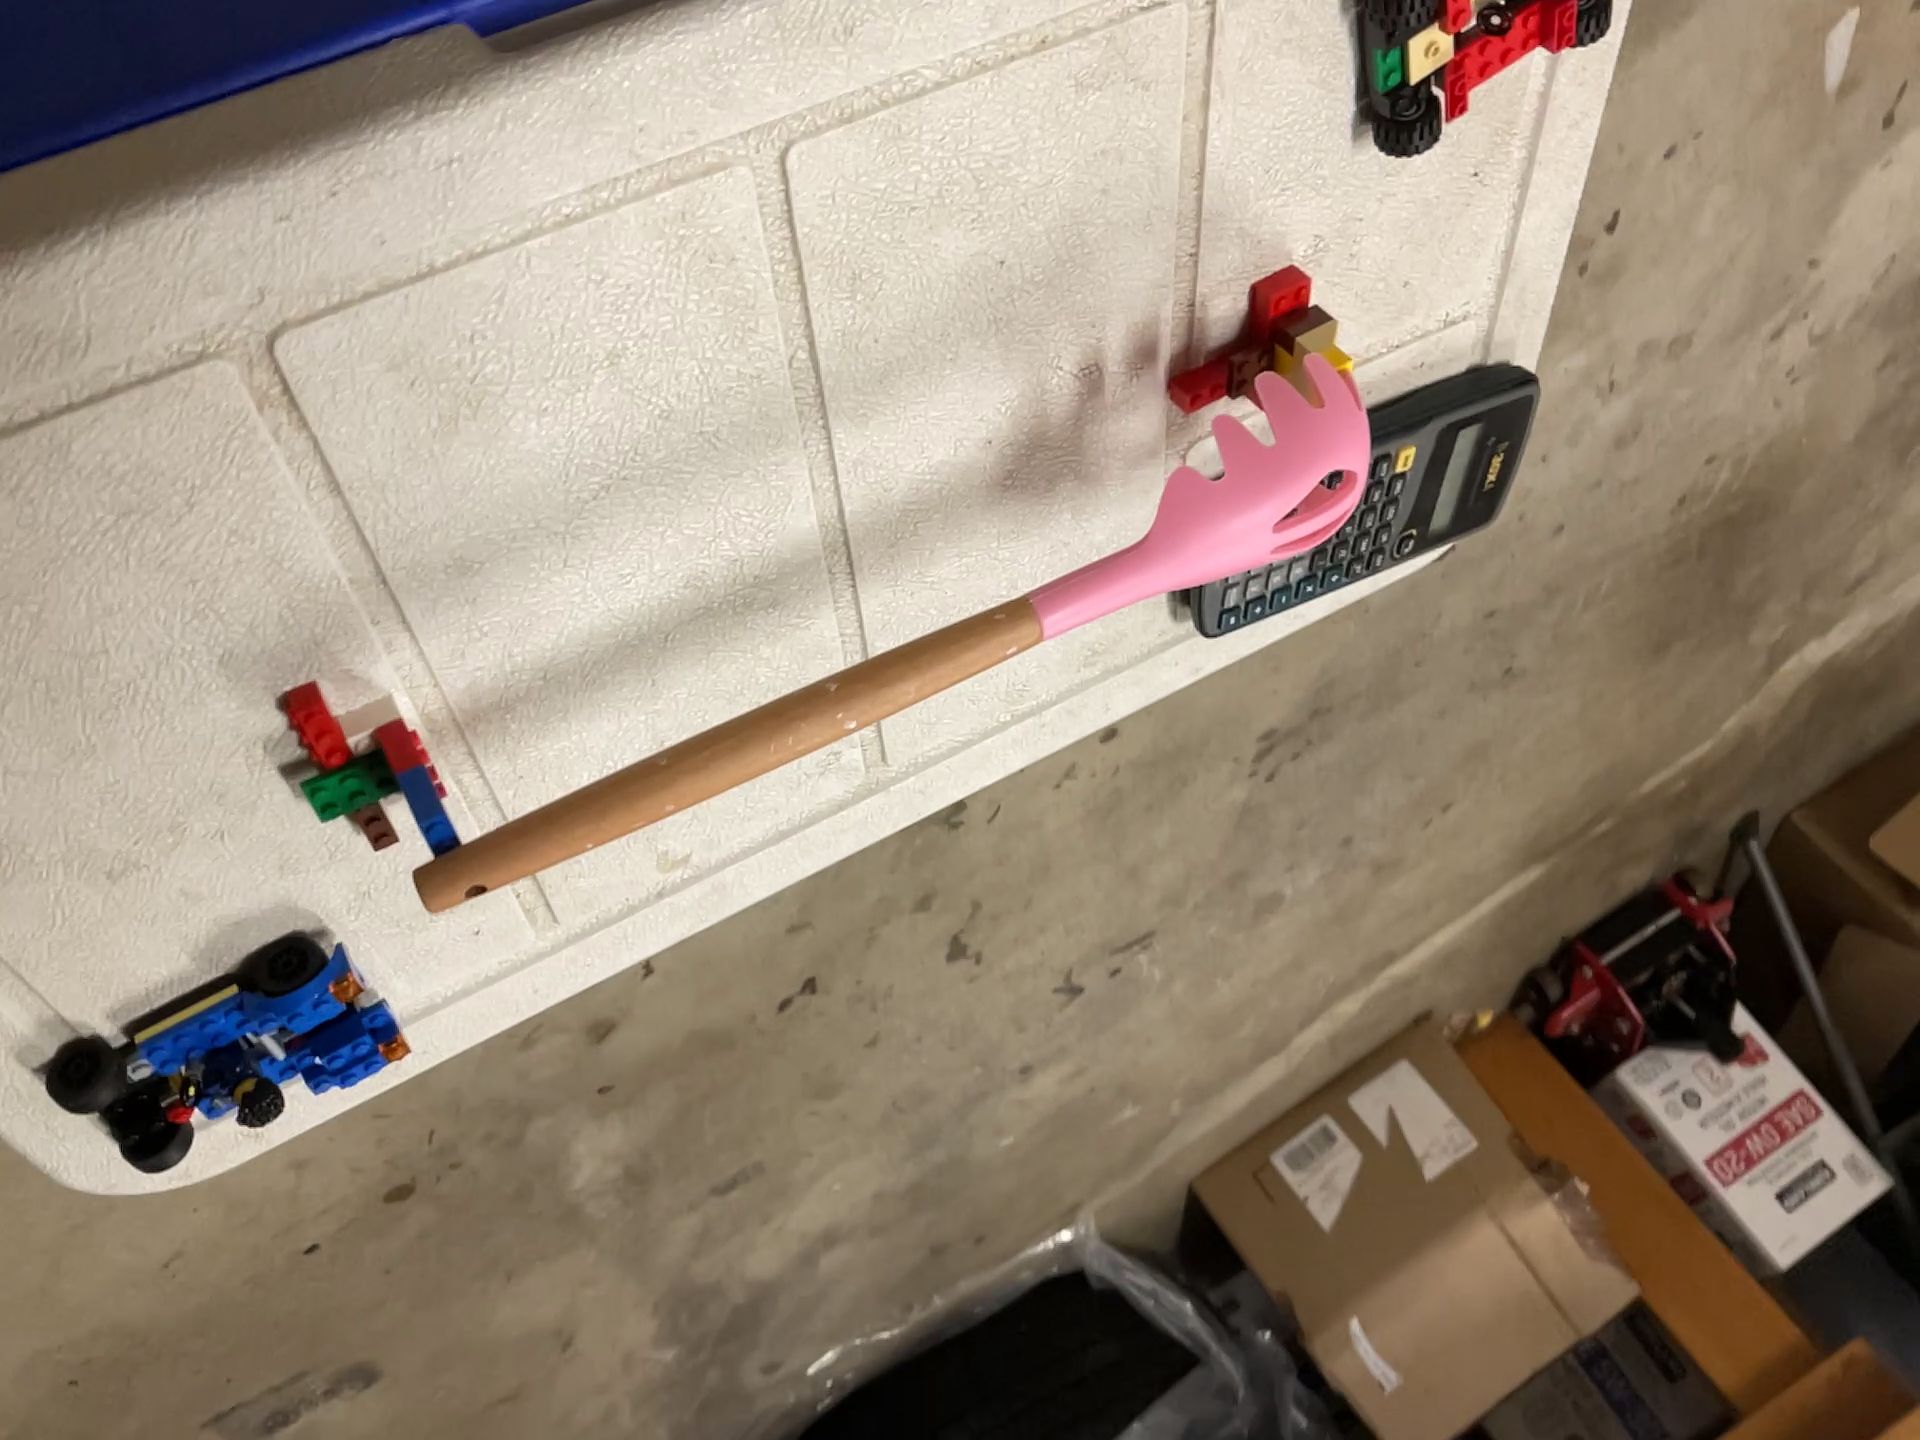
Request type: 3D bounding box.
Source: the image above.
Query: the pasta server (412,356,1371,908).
[{"bbox_3d":[-0.007,-0.024,0.464,0.316,0.040,0.060,-24,145,-13],"label":"pasta server"}]
